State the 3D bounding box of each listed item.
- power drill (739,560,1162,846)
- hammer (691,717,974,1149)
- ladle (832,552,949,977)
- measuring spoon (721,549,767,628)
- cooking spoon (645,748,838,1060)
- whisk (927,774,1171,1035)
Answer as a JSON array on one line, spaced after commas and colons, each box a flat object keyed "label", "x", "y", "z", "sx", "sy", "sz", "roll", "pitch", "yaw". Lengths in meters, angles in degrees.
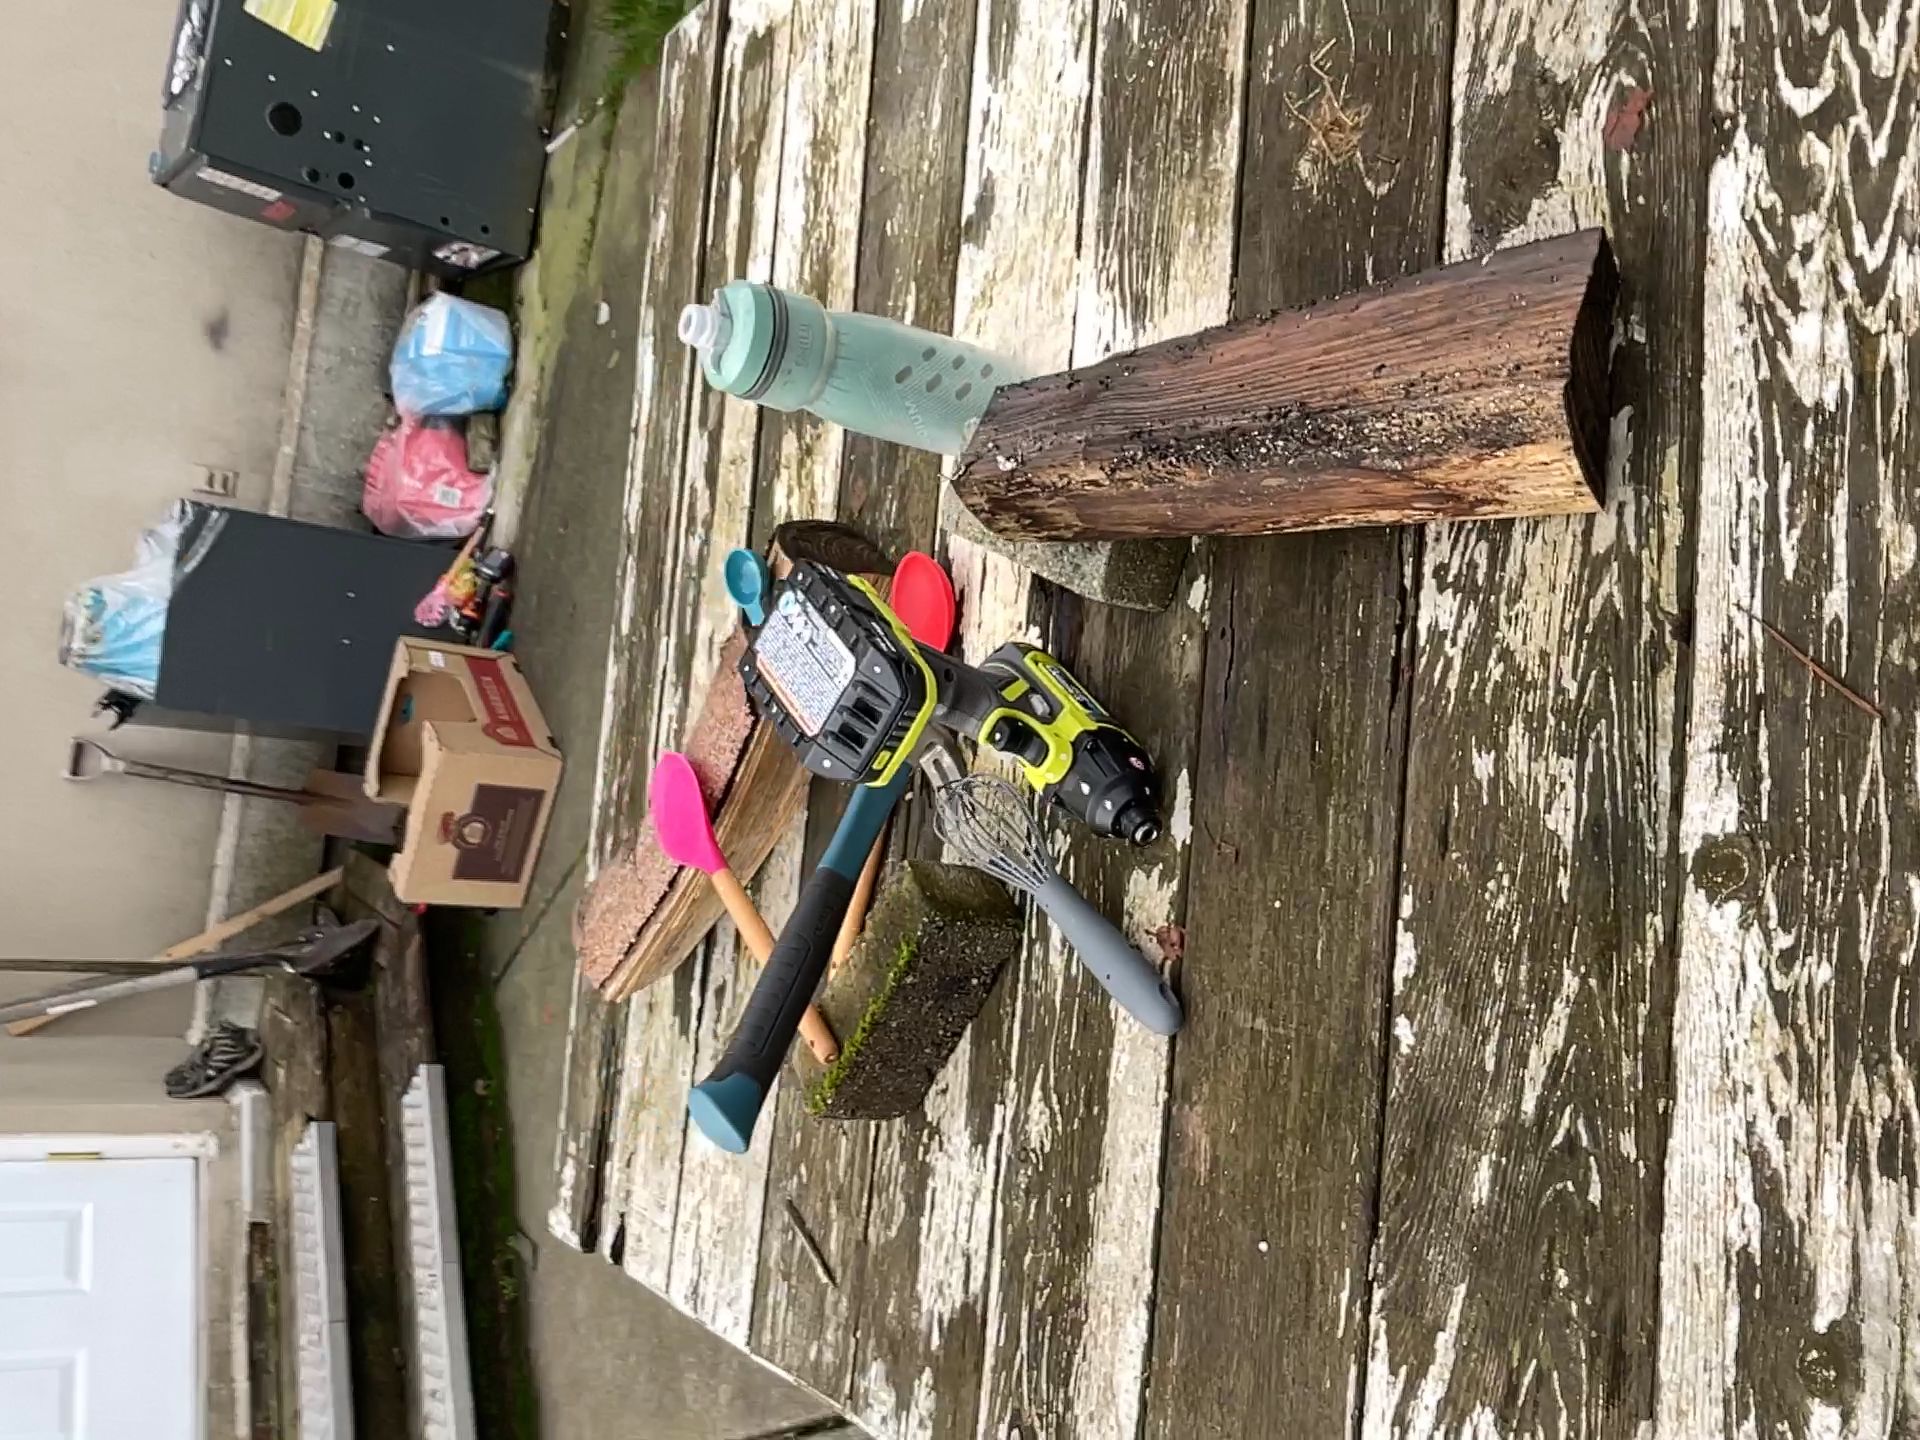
[{"label": "power drill", "x": 0.005, "y": -0.002, "z": 0.886, "sx": 0.080, "sy": 0.222, "sz": 0.171, "roll": -59, "pitch": 41, "yaw": 17}, {"label": "hammer", "x": -0.083, "y": 0.109, "z": 0.984, "sx": 0.033, "sy": 0.128, "sz": 0.331, "roll": -38, "pitch": 21, "yaw": 47}, {"label": "ladle", "x": -0.054, "y": 0.038, "z": 1.132, "sx": 0.069, "sy": 0.031, "sz": 0.315, "roll": 25, "pitch": 106, "yaw": 52}, {"label": "measuring spoon", "x": -0.134, "y": -0.063, "z": 1.134, "sx": 0.042, "sy": 0.021, "sz": 0.129, "roll": -30, "pitch": 81, "yaw": 48}, {"label": "cooking spoon", "x": -0.160, "y": 0.124, "z": 1.124, "sx": 0.319, "sy": 0.017, "sz": 0.068, "roll": 49, "pitch": 121, "yaw": 43}, {"label": "whisk", "x": 0.050, "y": 0.105, "z": 0.941, "sx": 0.239, "sy": 0.055, "sz": 0.055, "roll": 47, "pitch": 128, "yaw": 45}]
